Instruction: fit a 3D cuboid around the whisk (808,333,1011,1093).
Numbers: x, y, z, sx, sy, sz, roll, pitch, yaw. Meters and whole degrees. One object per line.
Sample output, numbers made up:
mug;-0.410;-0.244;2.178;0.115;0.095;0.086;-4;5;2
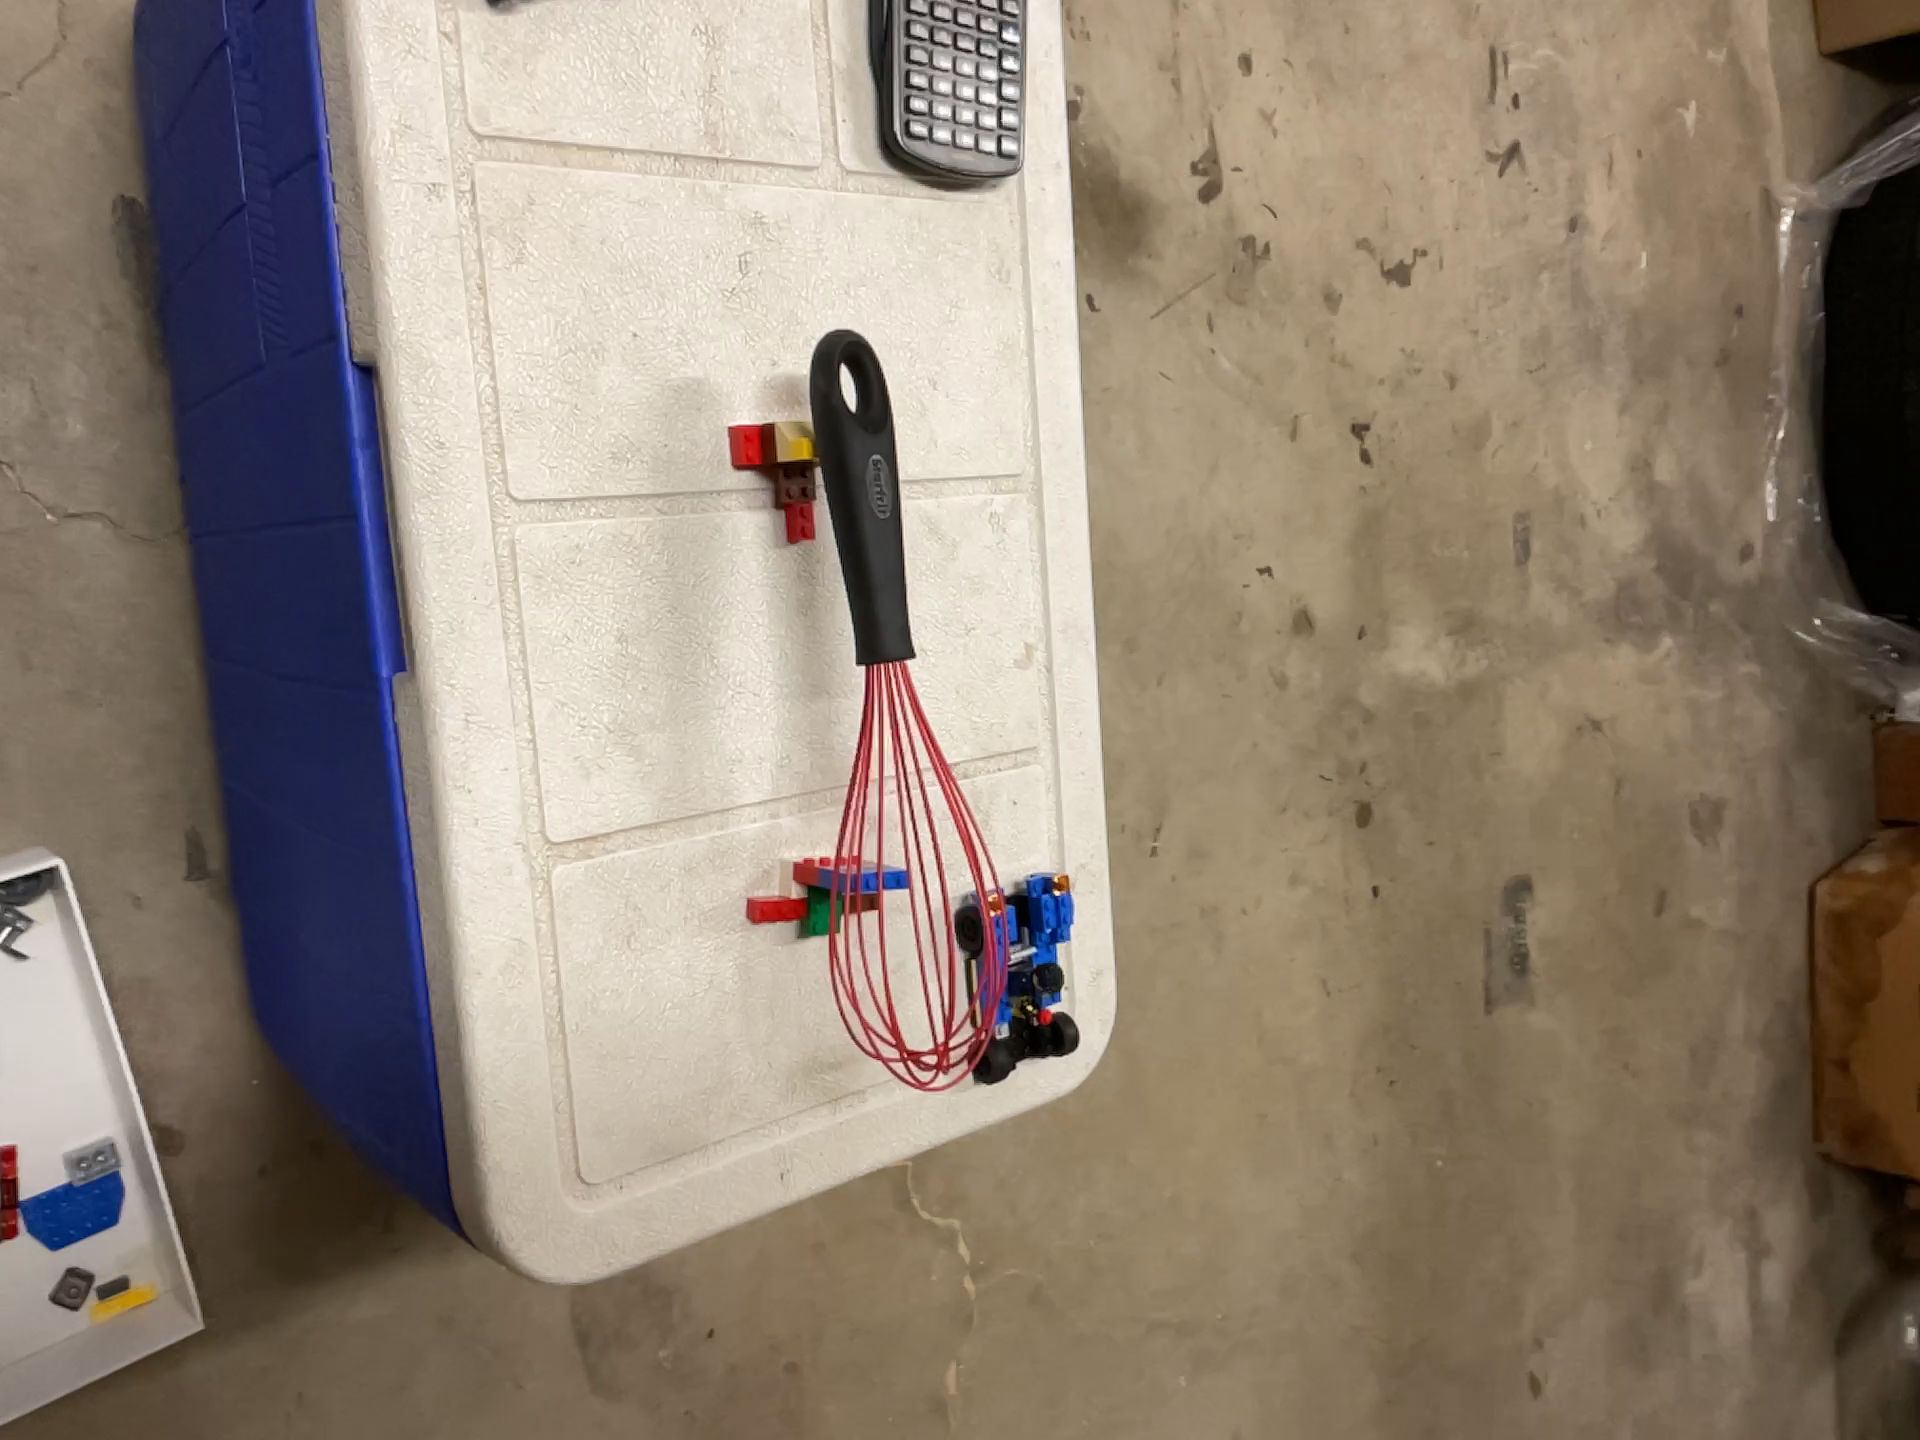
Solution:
whisk;-0.027;-0.003;0.617;0.073;0.073;0.296;-7;89;-36
